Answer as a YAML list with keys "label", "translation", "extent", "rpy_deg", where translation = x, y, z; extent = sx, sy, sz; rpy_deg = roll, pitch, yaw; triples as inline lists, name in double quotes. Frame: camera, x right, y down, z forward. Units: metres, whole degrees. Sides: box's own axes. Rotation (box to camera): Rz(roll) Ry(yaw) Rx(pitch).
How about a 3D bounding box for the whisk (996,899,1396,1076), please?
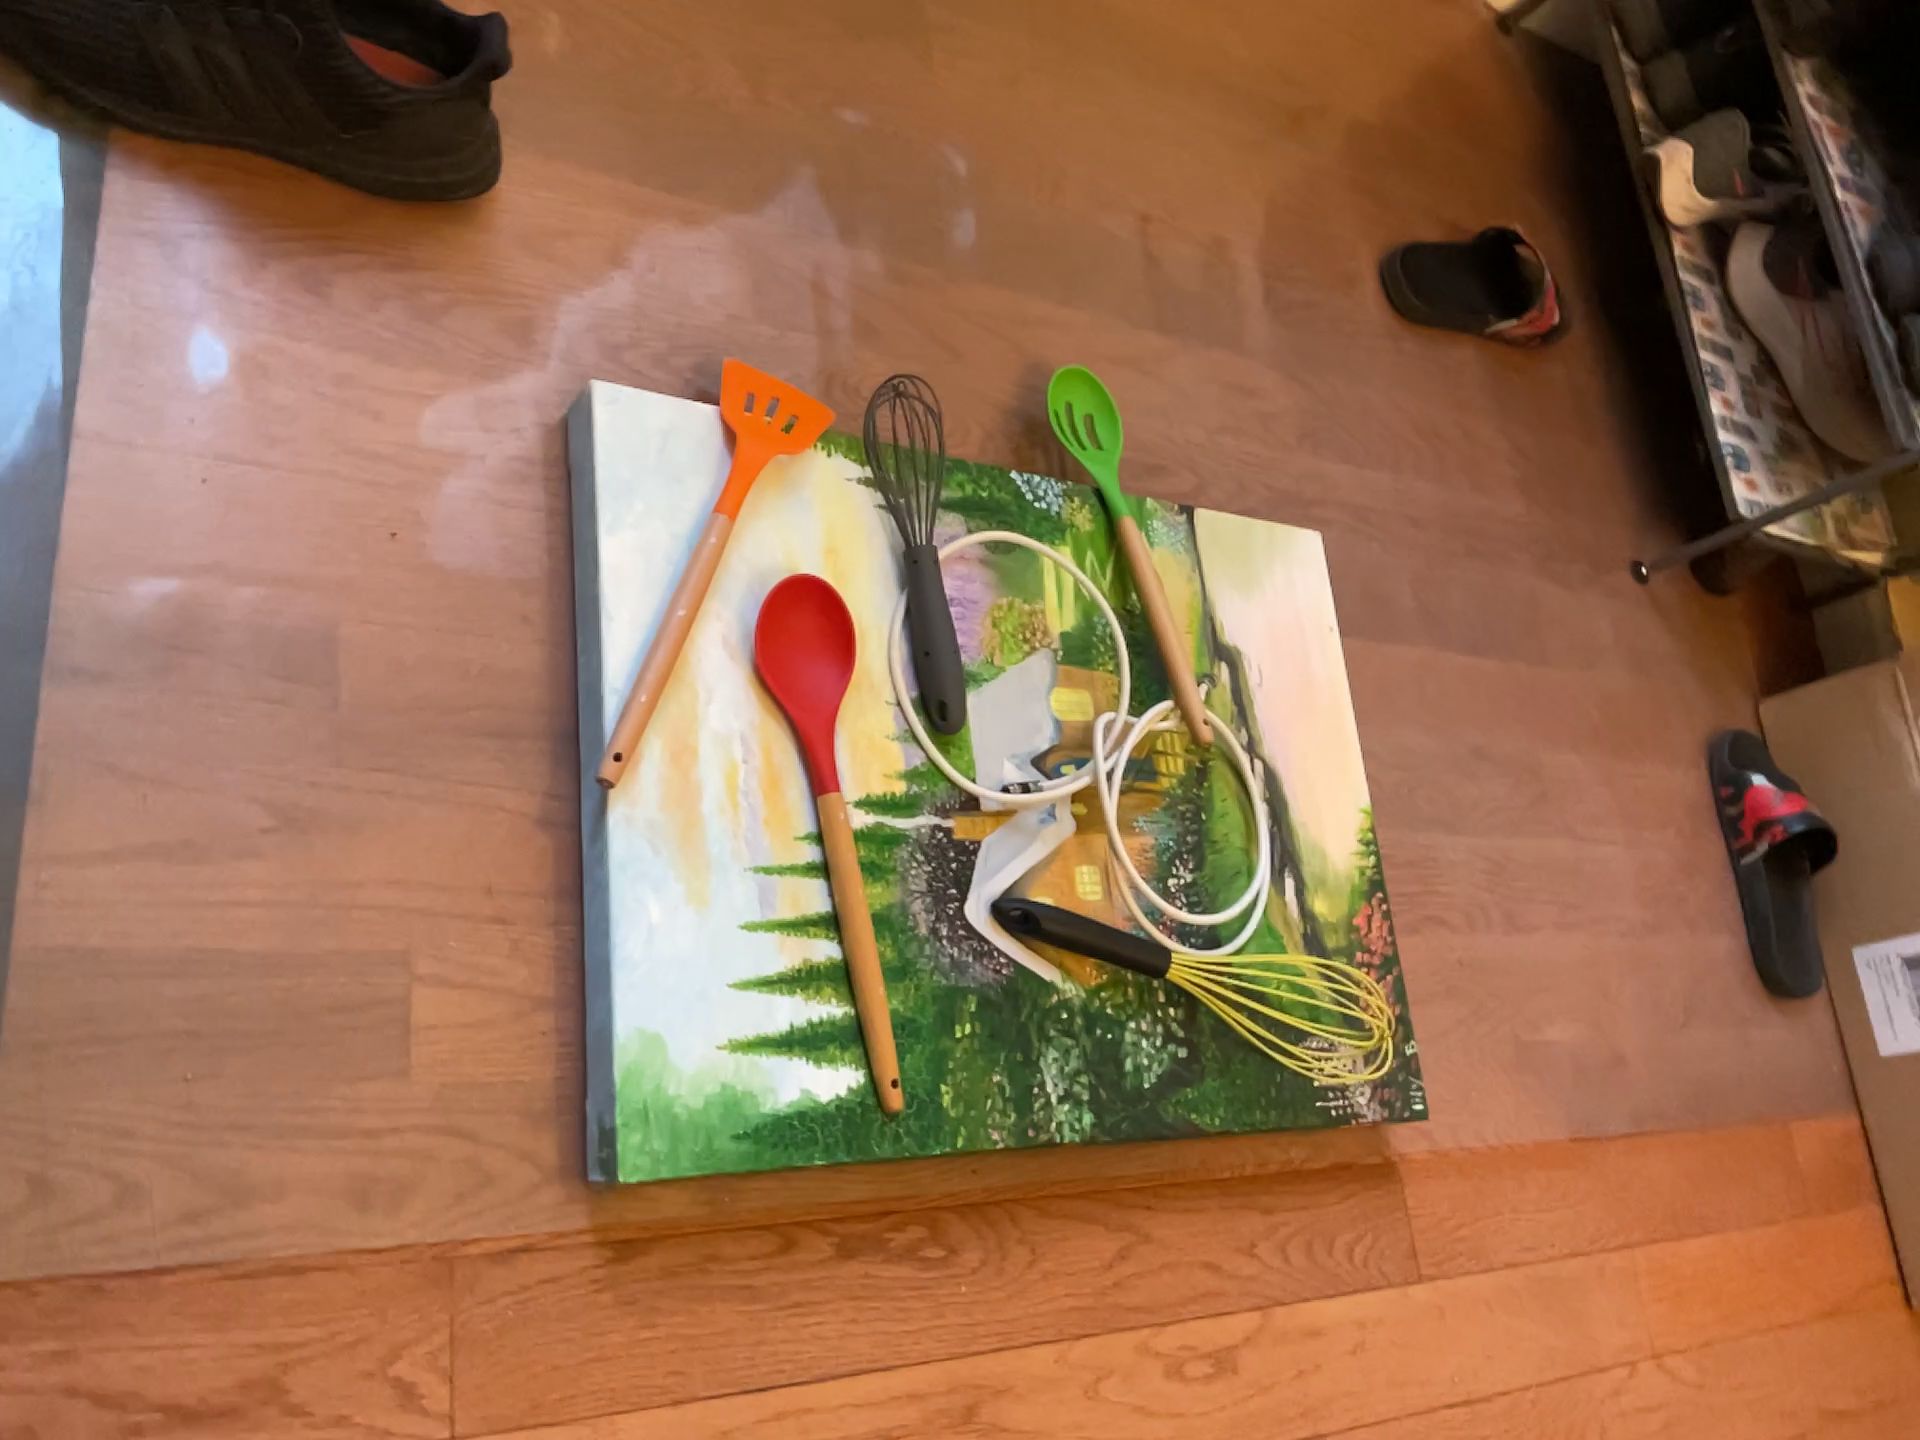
- label: "whisk"
  translation: [0.157, 0.167, 1.038]
  extent: [0.311, 0.067, 0.080]
  rpy_deg: [21, 56, -21]

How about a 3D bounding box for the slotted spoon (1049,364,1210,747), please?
- label: "slotted spoon"
  translation: [0.122, -0.121, 1.129]
  extent: [0.070, 0.031, 0.314]
  rpy_deg: [3, 59, -35]

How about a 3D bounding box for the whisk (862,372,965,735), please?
- label: "whisk"
  translation: [-0.024, -0.108, 1.017]
  extent: [0.055, 0.055, 0.239]
  rpy_deg: [-6, 82, -26]

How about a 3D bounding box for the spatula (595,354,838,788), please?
- label: "spatula"
  translation: [-0.151, -0.097, 0.946]
  extent: [0.081, 0.041, 0.323]
  rpy_deg: [25, 60, -13]

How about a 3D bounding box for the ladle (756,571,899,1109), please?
- label: "ladle"
  translation: [-0.070, 0.067, 0.928]
  extent: [0.069, 0.031, 0.316]
  rpy_deg: [-4, 77, -35]
